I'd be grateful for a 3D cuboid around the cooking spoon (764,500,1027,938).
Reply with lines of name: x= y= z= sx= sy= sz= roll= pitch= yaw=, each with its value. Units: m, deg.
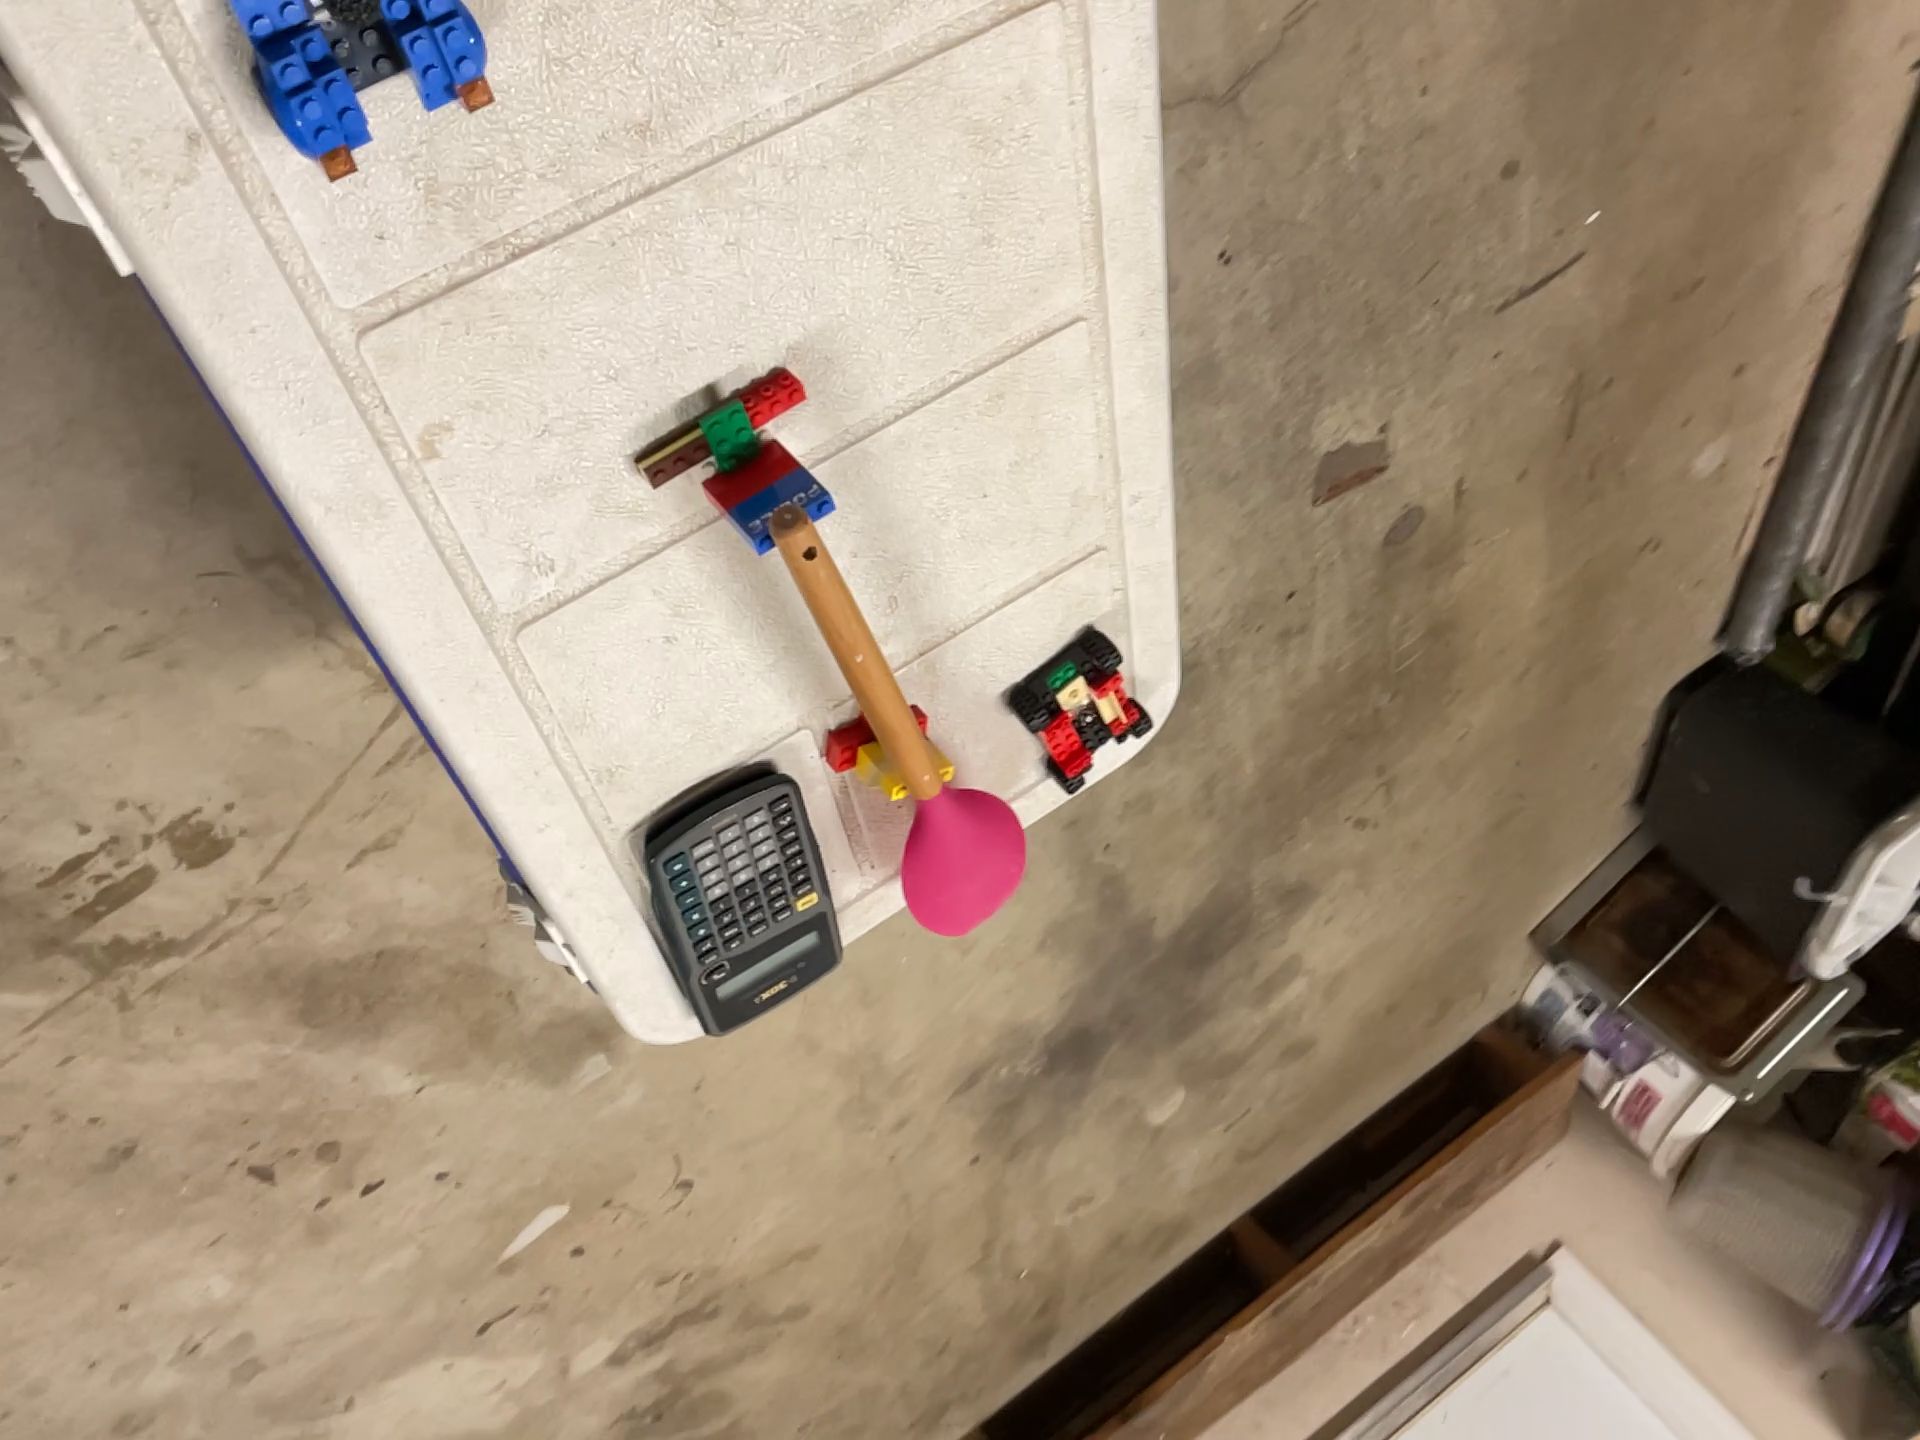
cooking spoon: x=-0.021 y=0.014 z=0.659 sx=0.069 sy=0.017 sz=0.318 roll=-41 pitch=146 yaw=-11
